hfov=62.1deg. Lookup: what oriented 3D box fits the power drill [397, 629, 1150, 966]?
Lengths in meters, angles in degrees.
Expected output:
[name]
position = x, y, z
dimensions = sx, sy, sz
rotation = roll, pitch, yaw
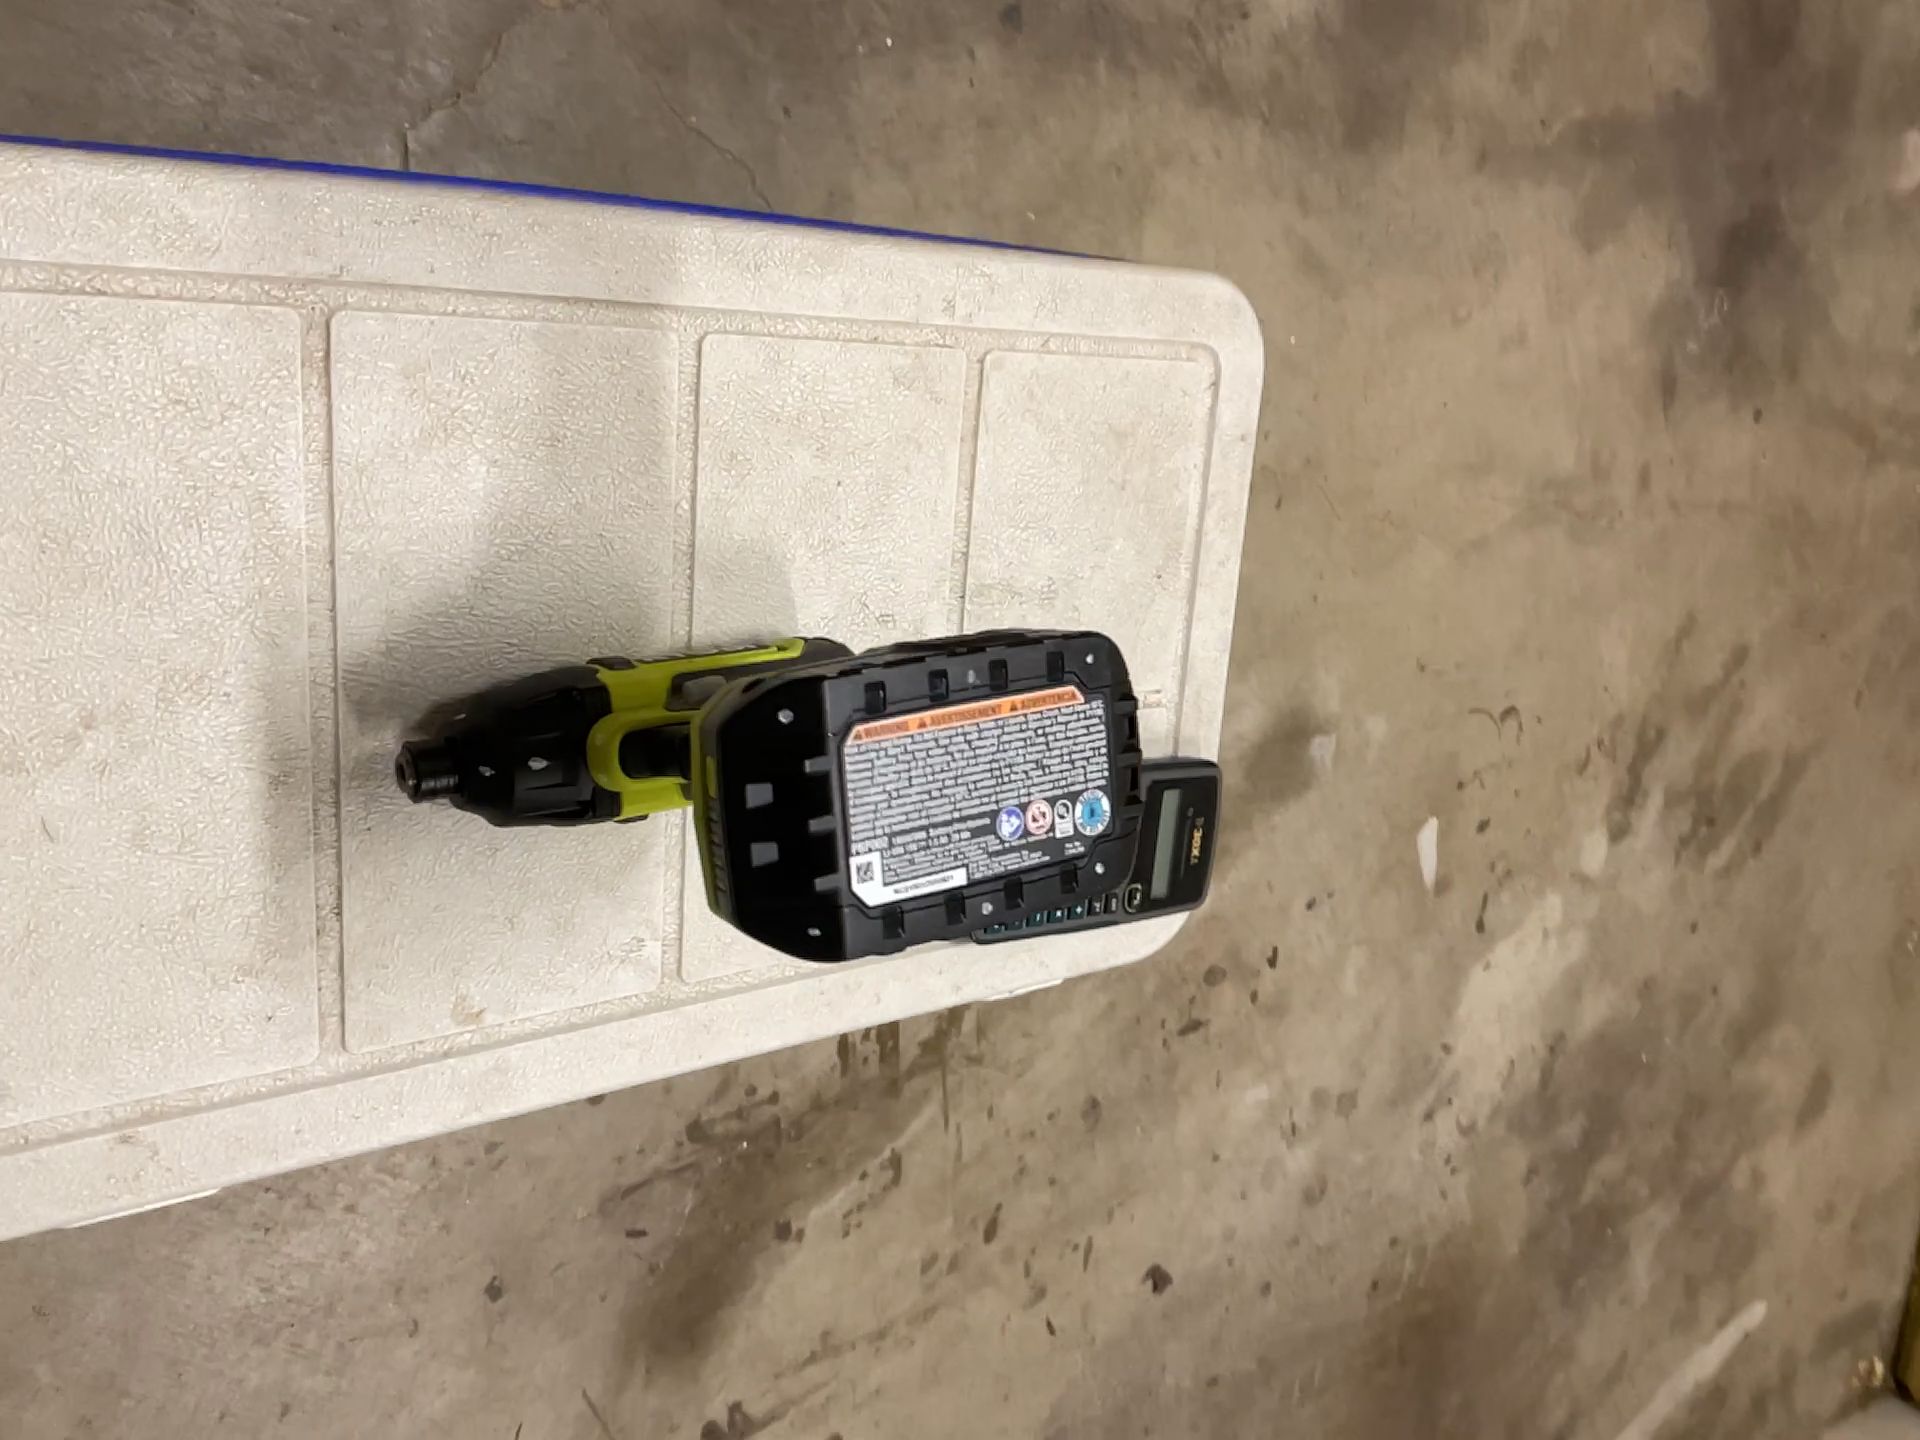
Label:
[power drill]
position = -0.065, 0.013, 0.506
dimensions = 0.171, 0.223, 0.080
rotation = -9, 99, -36
